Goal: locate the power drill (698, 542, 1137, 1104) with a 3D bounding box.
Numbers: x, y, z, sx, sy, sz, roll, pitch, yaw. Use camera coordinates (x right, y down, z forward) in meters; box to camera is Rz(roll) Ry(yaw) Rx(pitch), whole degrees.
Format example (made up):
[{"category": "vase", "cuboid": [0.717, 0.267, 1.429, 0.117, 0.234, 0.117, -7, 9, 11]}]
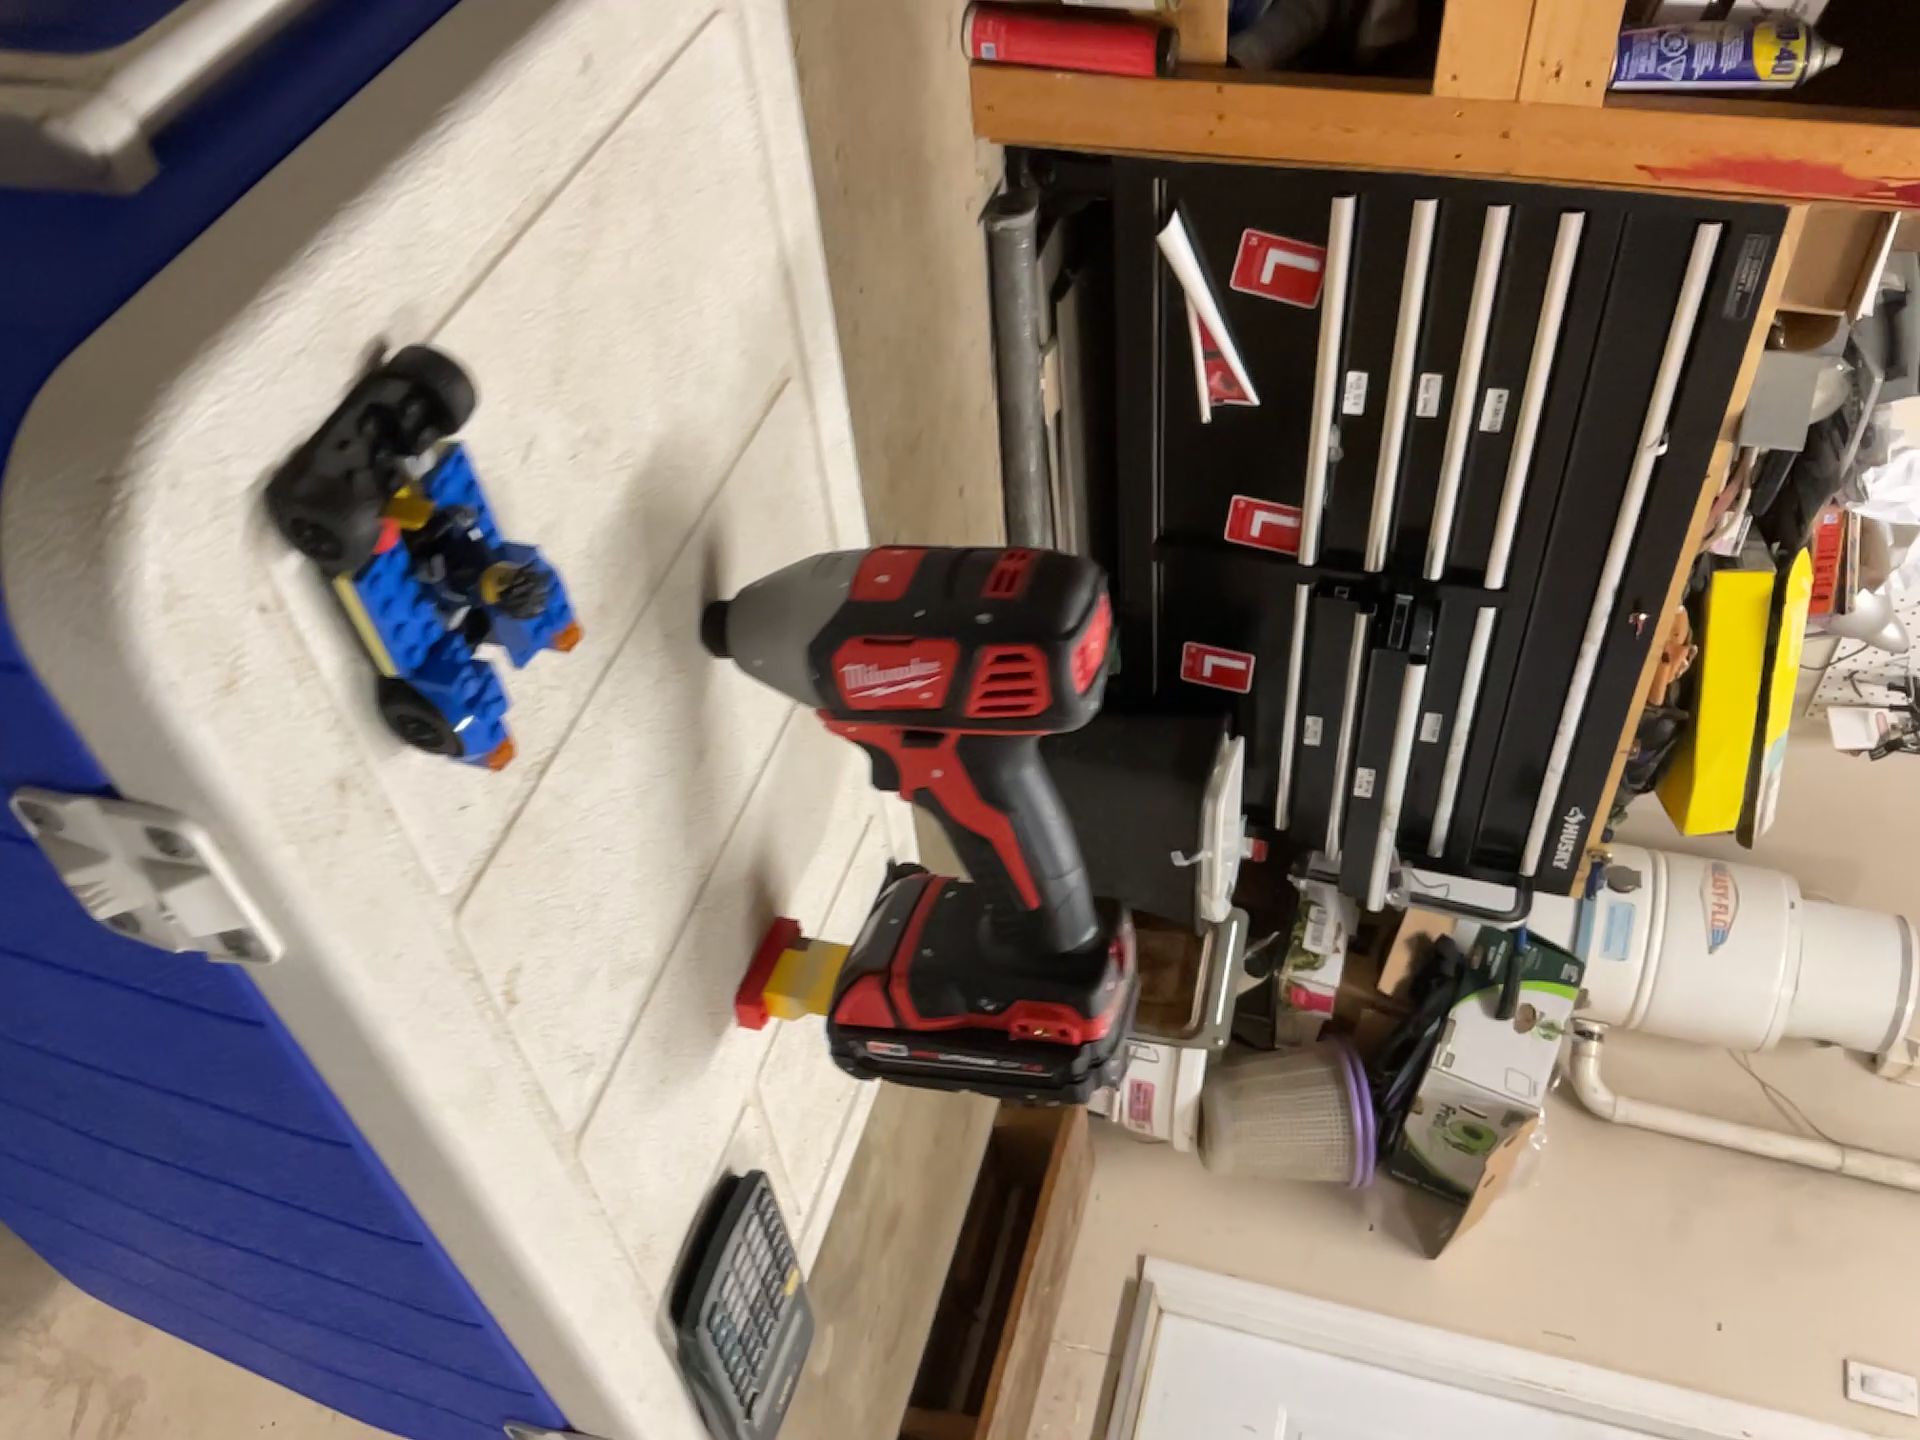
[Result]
[{"category": "power drill", "cuboid": [-0.010, 0.034, 0.585, 0.079, 0.143, 0.219, -65, 152, -49]}]
